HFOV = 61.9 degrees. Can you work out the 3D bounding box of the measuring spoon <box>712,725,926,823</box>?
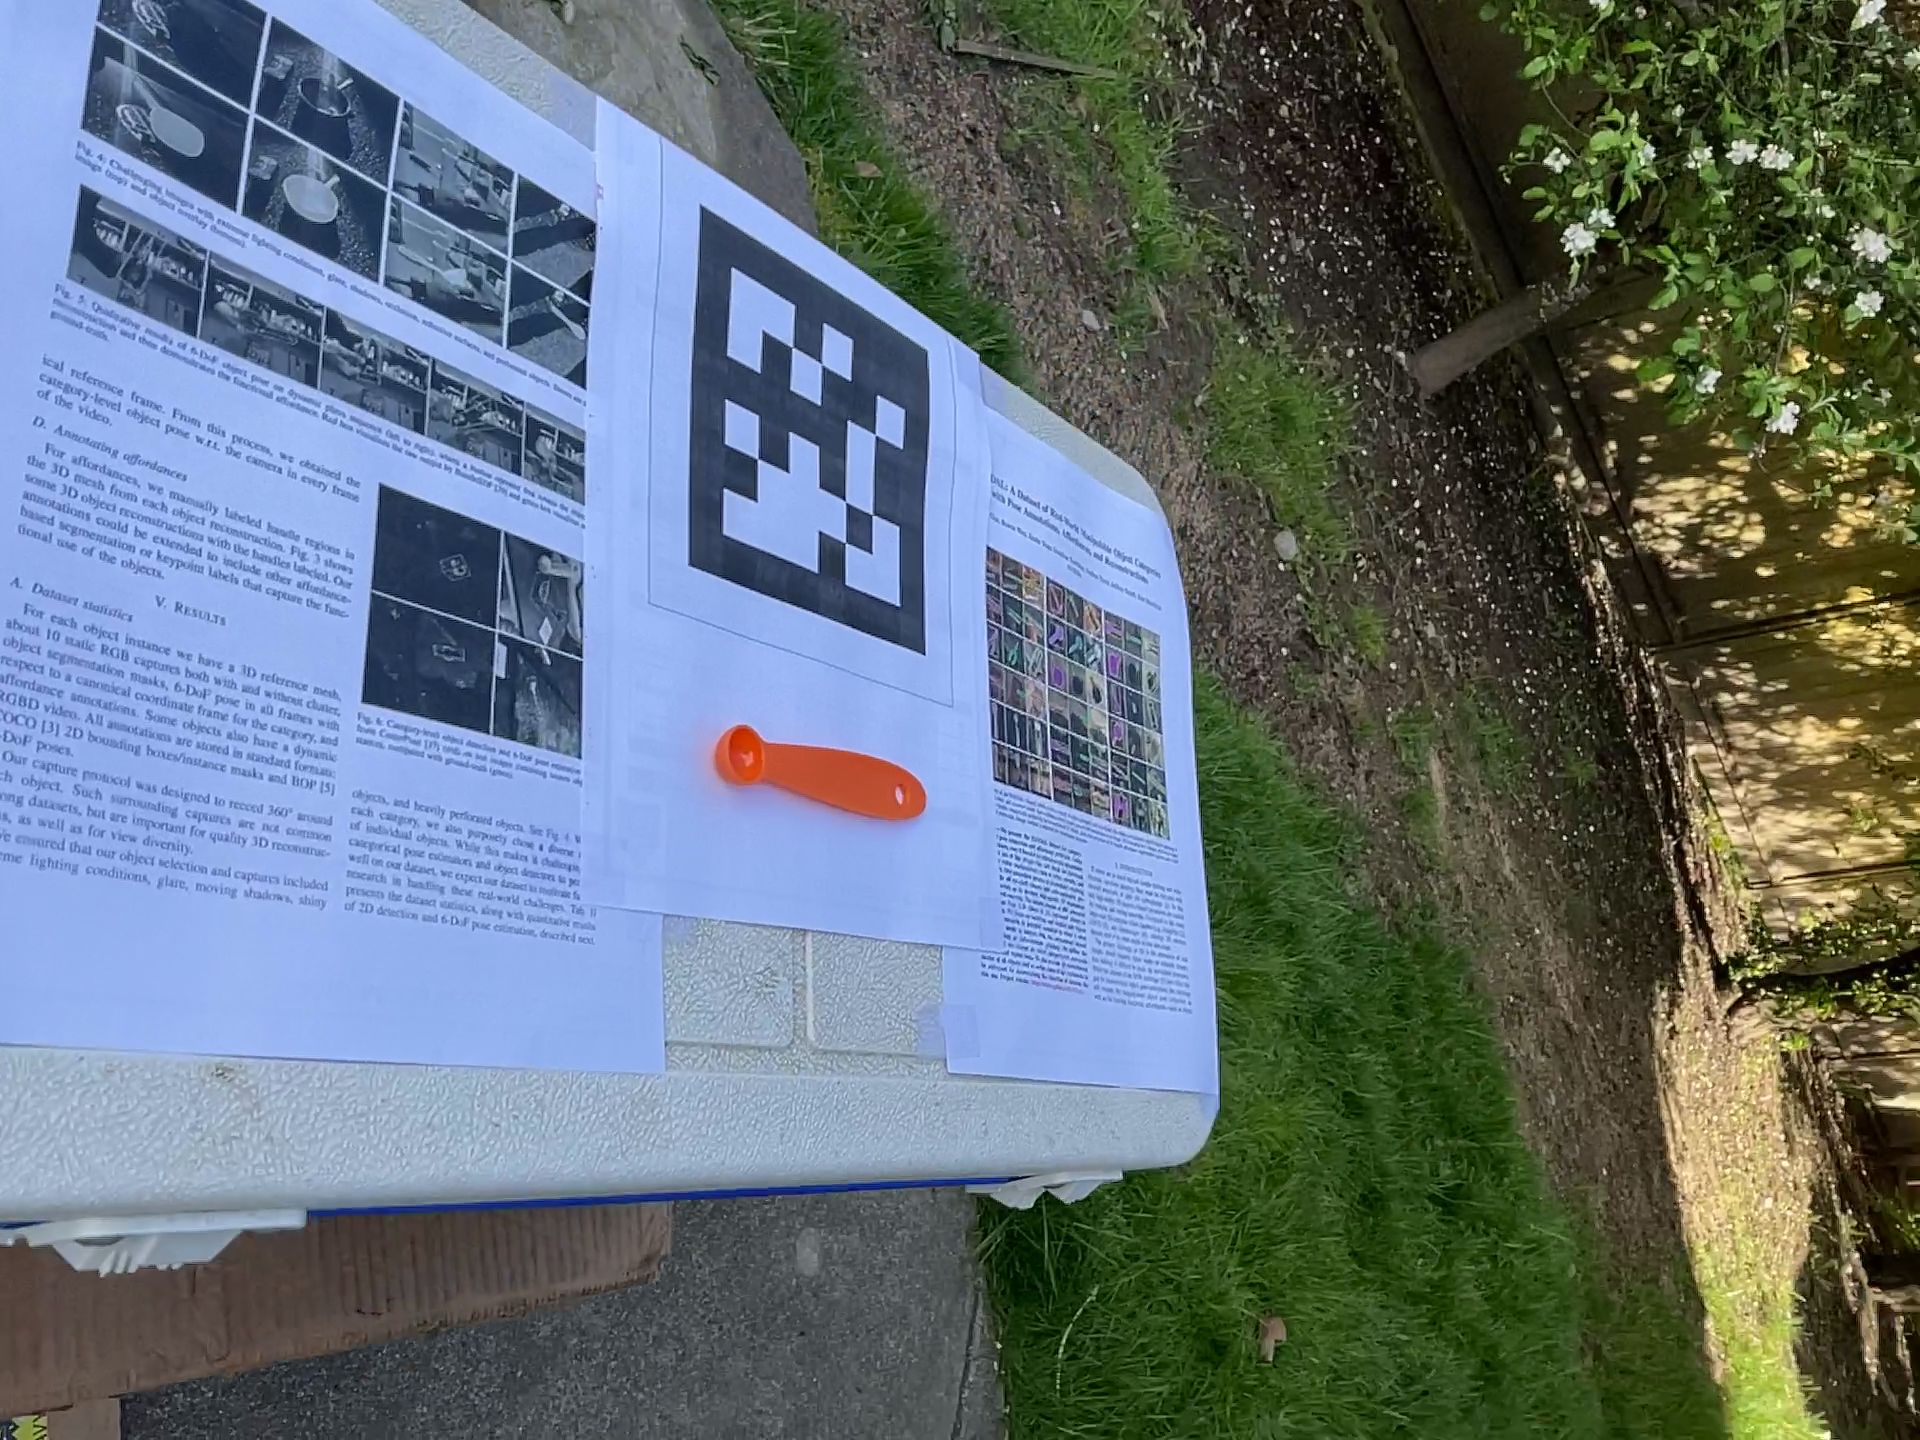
[{"bbox_3d":[-0.046,0.021,0.538,0.117,0.011,0.021,19,64,-57],"label":"measuring spoon"}]
